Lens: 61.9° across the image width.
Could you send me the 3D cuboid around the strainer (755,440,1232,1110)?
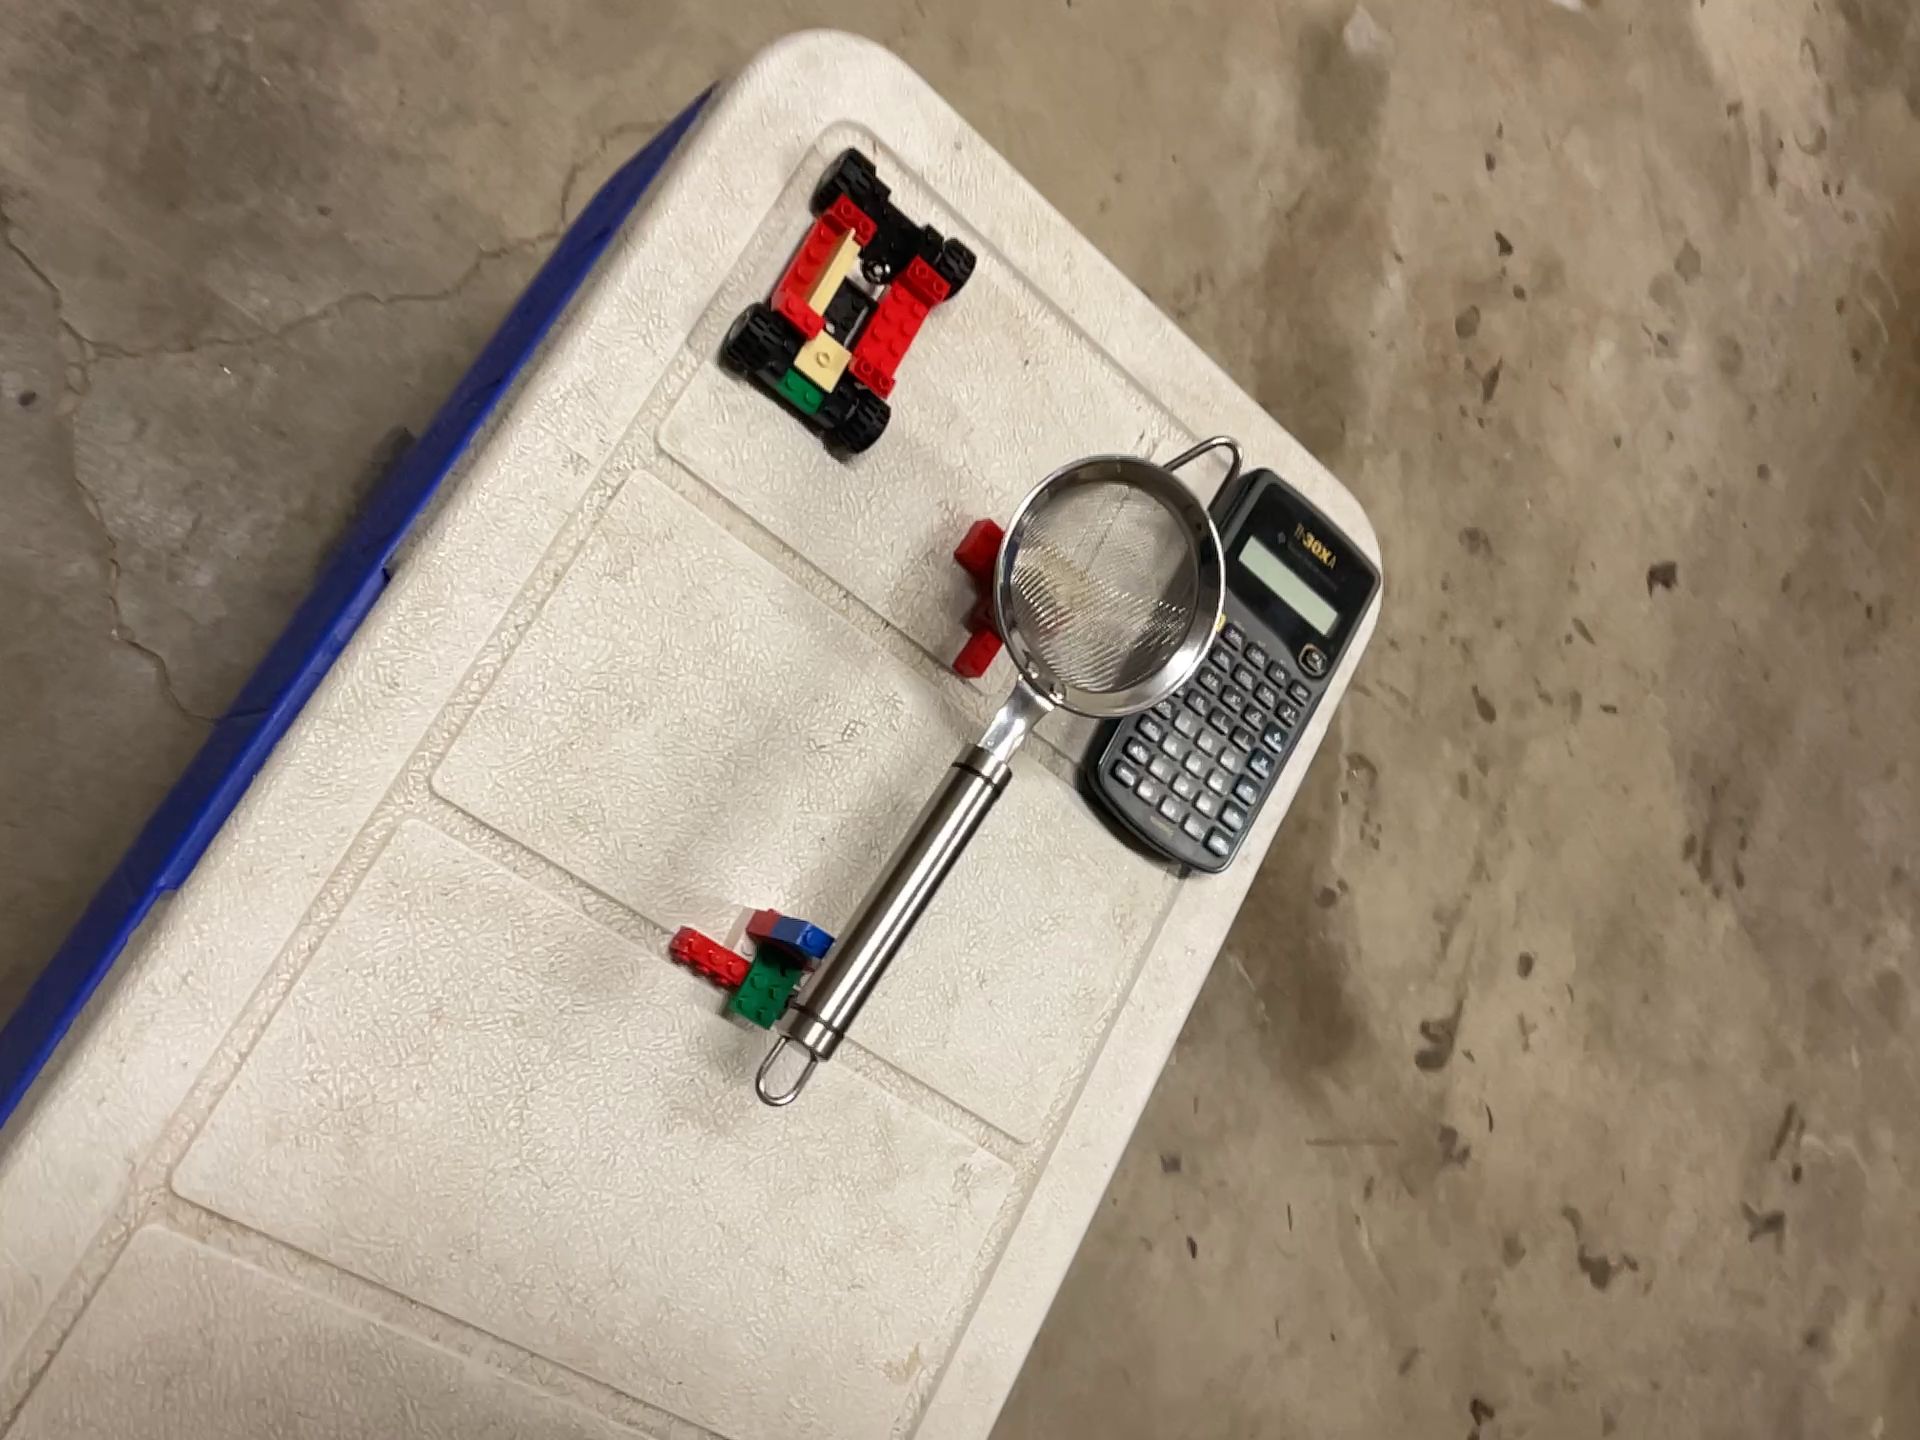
[{"bbox_3d":[0.008,0.011,0.516,0.087,0.050,0.258,41,71,-23],"label":"strainer"}]
